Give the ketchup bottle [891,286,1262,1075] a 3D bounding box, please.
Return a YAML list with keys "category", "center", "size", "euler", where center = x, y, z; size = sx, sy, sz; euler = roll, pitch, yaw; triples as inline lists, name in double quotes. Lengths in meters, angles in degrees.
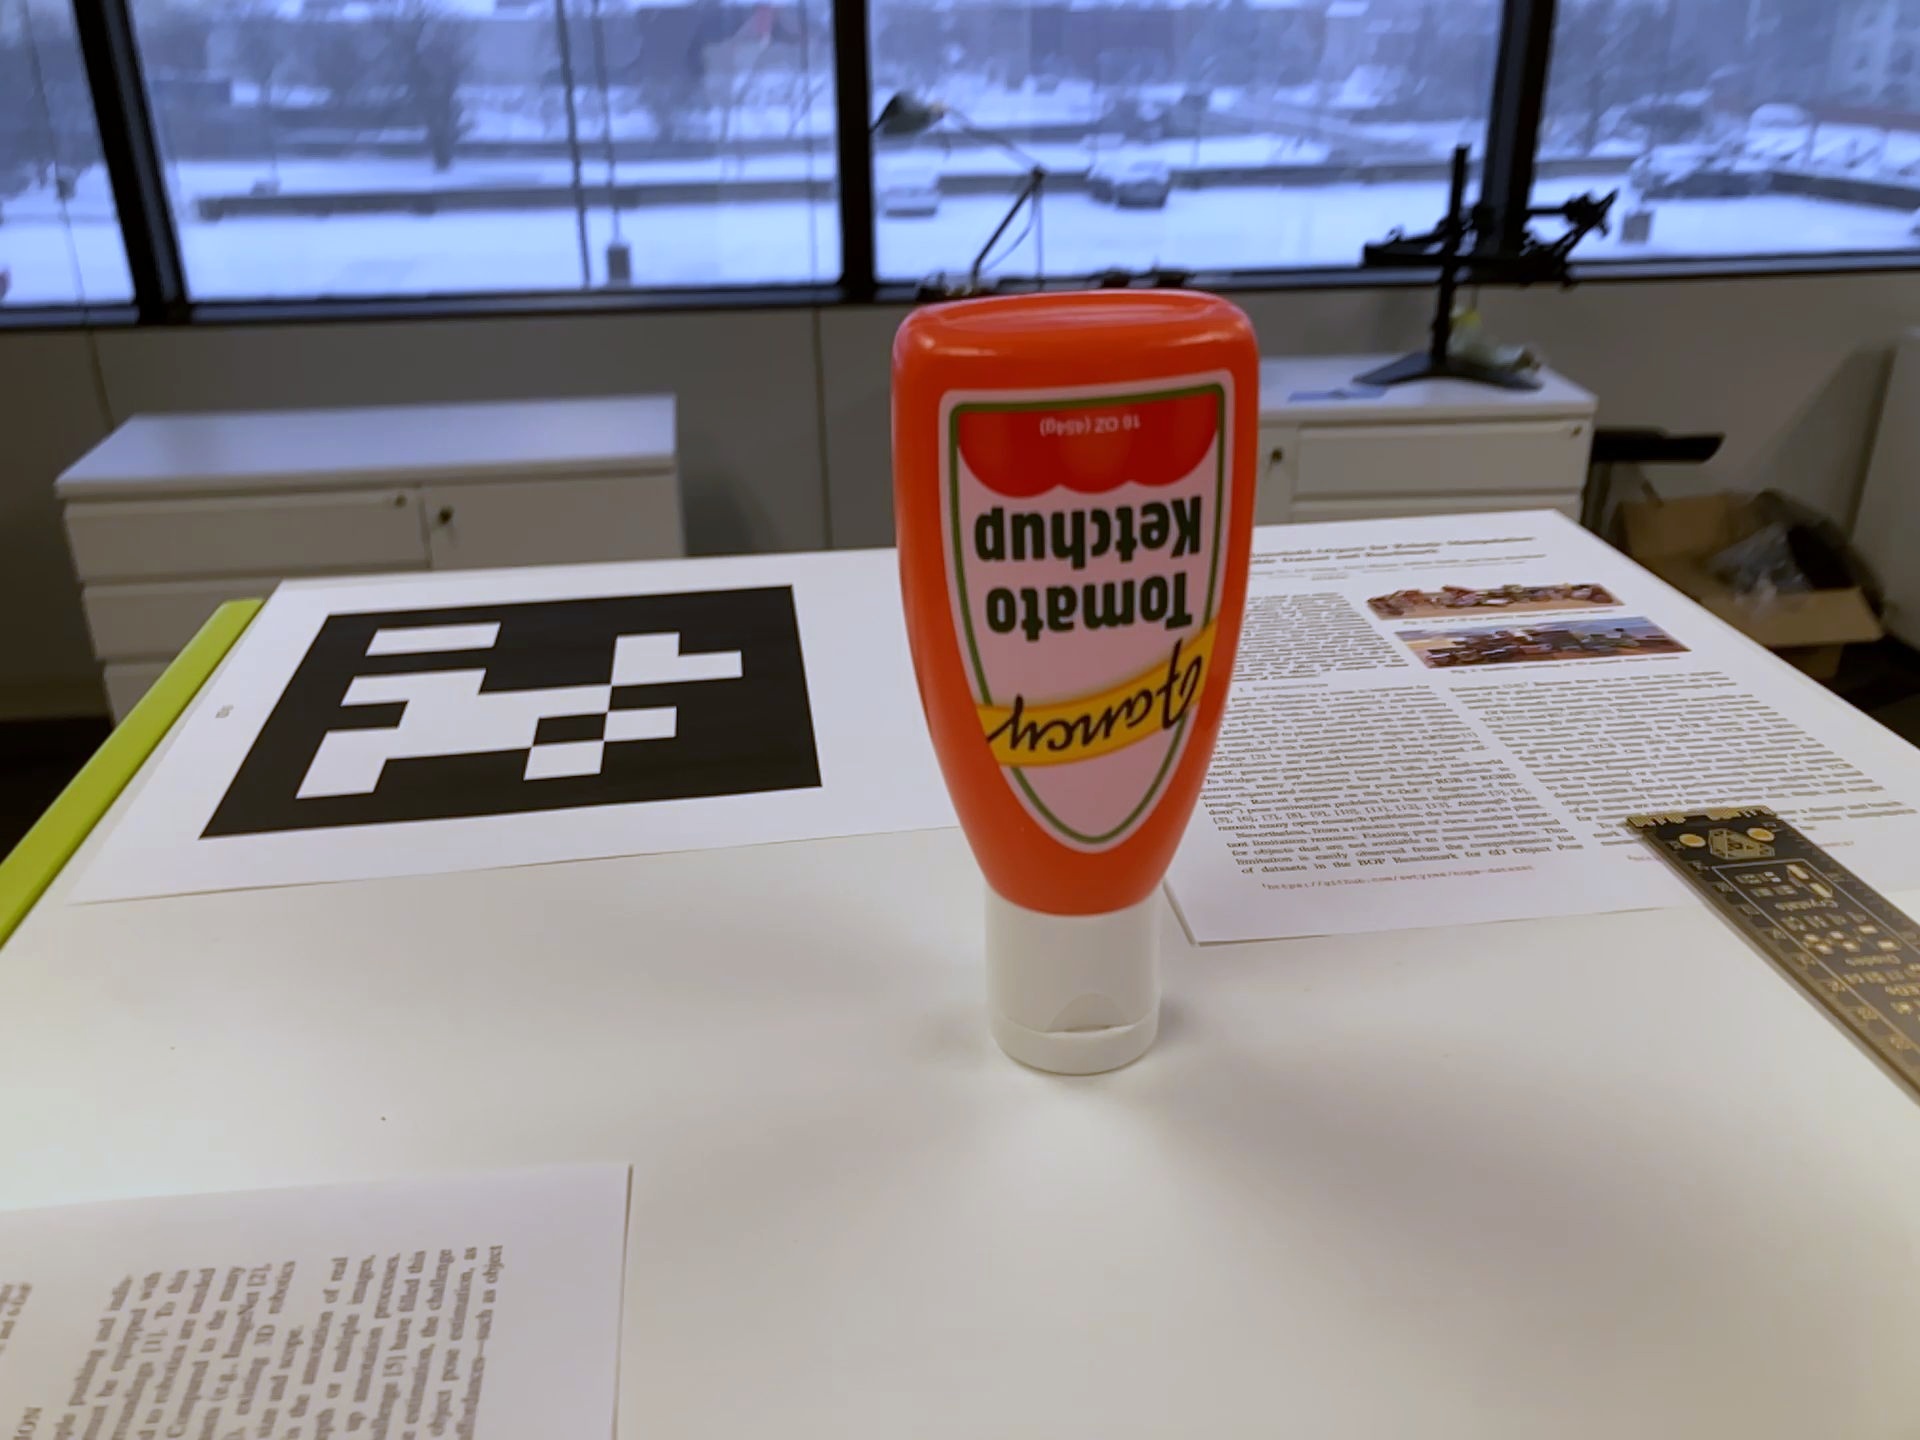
- category: "ketchup bottle"
  center: [0.022, -0.004, 0.301]
  size: [0.065, 0.149, 0.043]
  euler: [-4, 25, -5]
